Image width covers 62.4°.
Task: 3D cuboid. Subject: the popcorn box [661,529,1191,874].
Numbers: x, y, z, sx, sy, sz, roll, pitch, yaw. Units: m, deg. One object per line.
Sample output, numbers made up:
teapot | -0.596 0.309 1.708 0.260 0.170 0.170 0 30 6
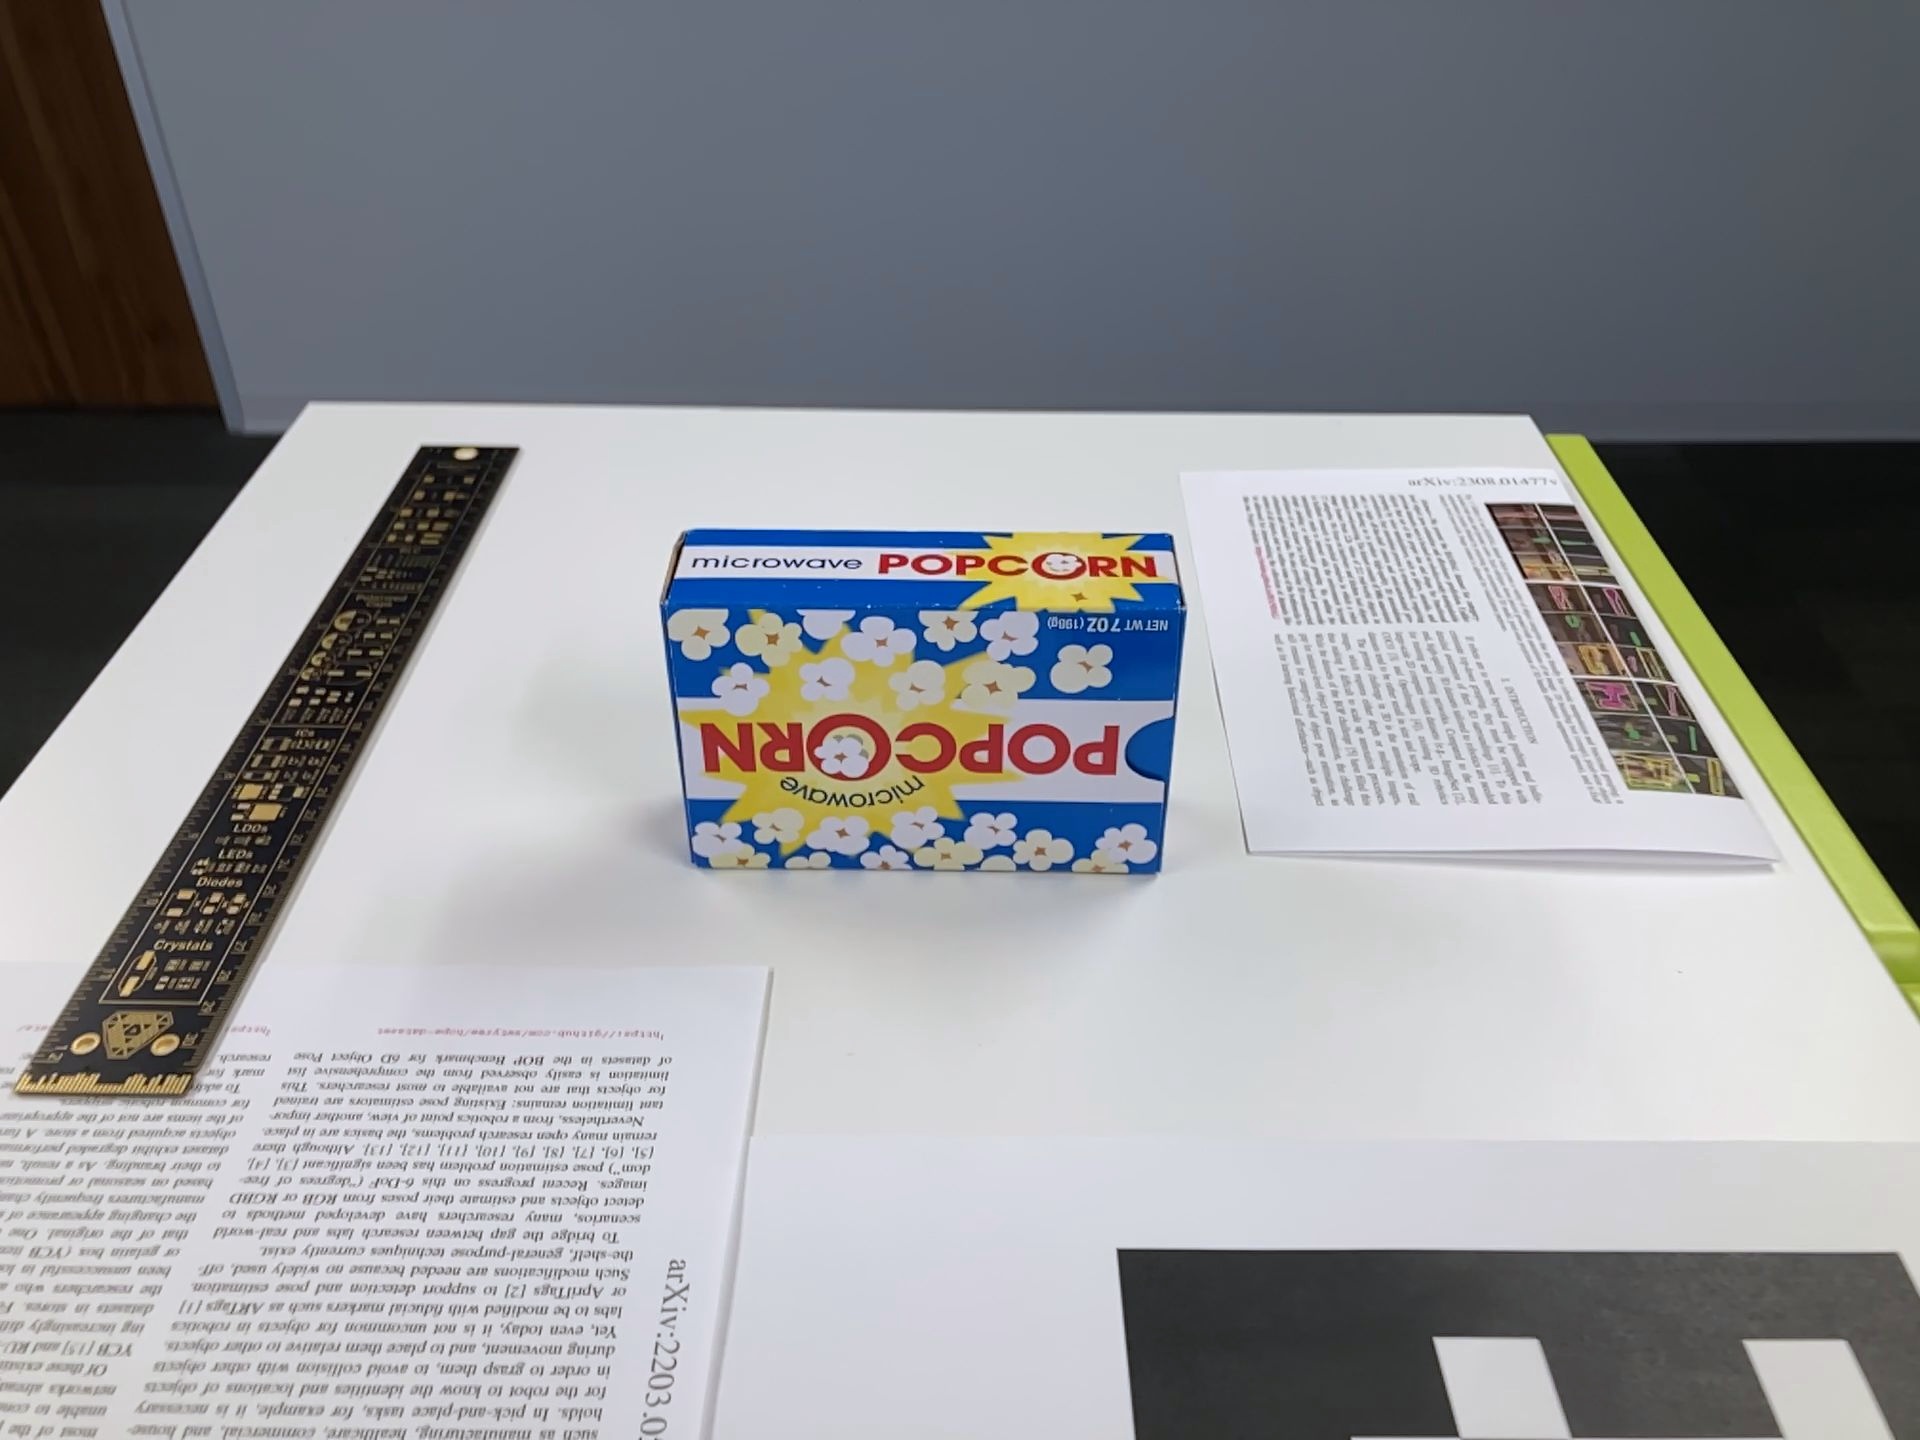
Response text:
popcorn box | -0.009 -0.004 0.410 0.126 0.085 0.038 1 35 0
